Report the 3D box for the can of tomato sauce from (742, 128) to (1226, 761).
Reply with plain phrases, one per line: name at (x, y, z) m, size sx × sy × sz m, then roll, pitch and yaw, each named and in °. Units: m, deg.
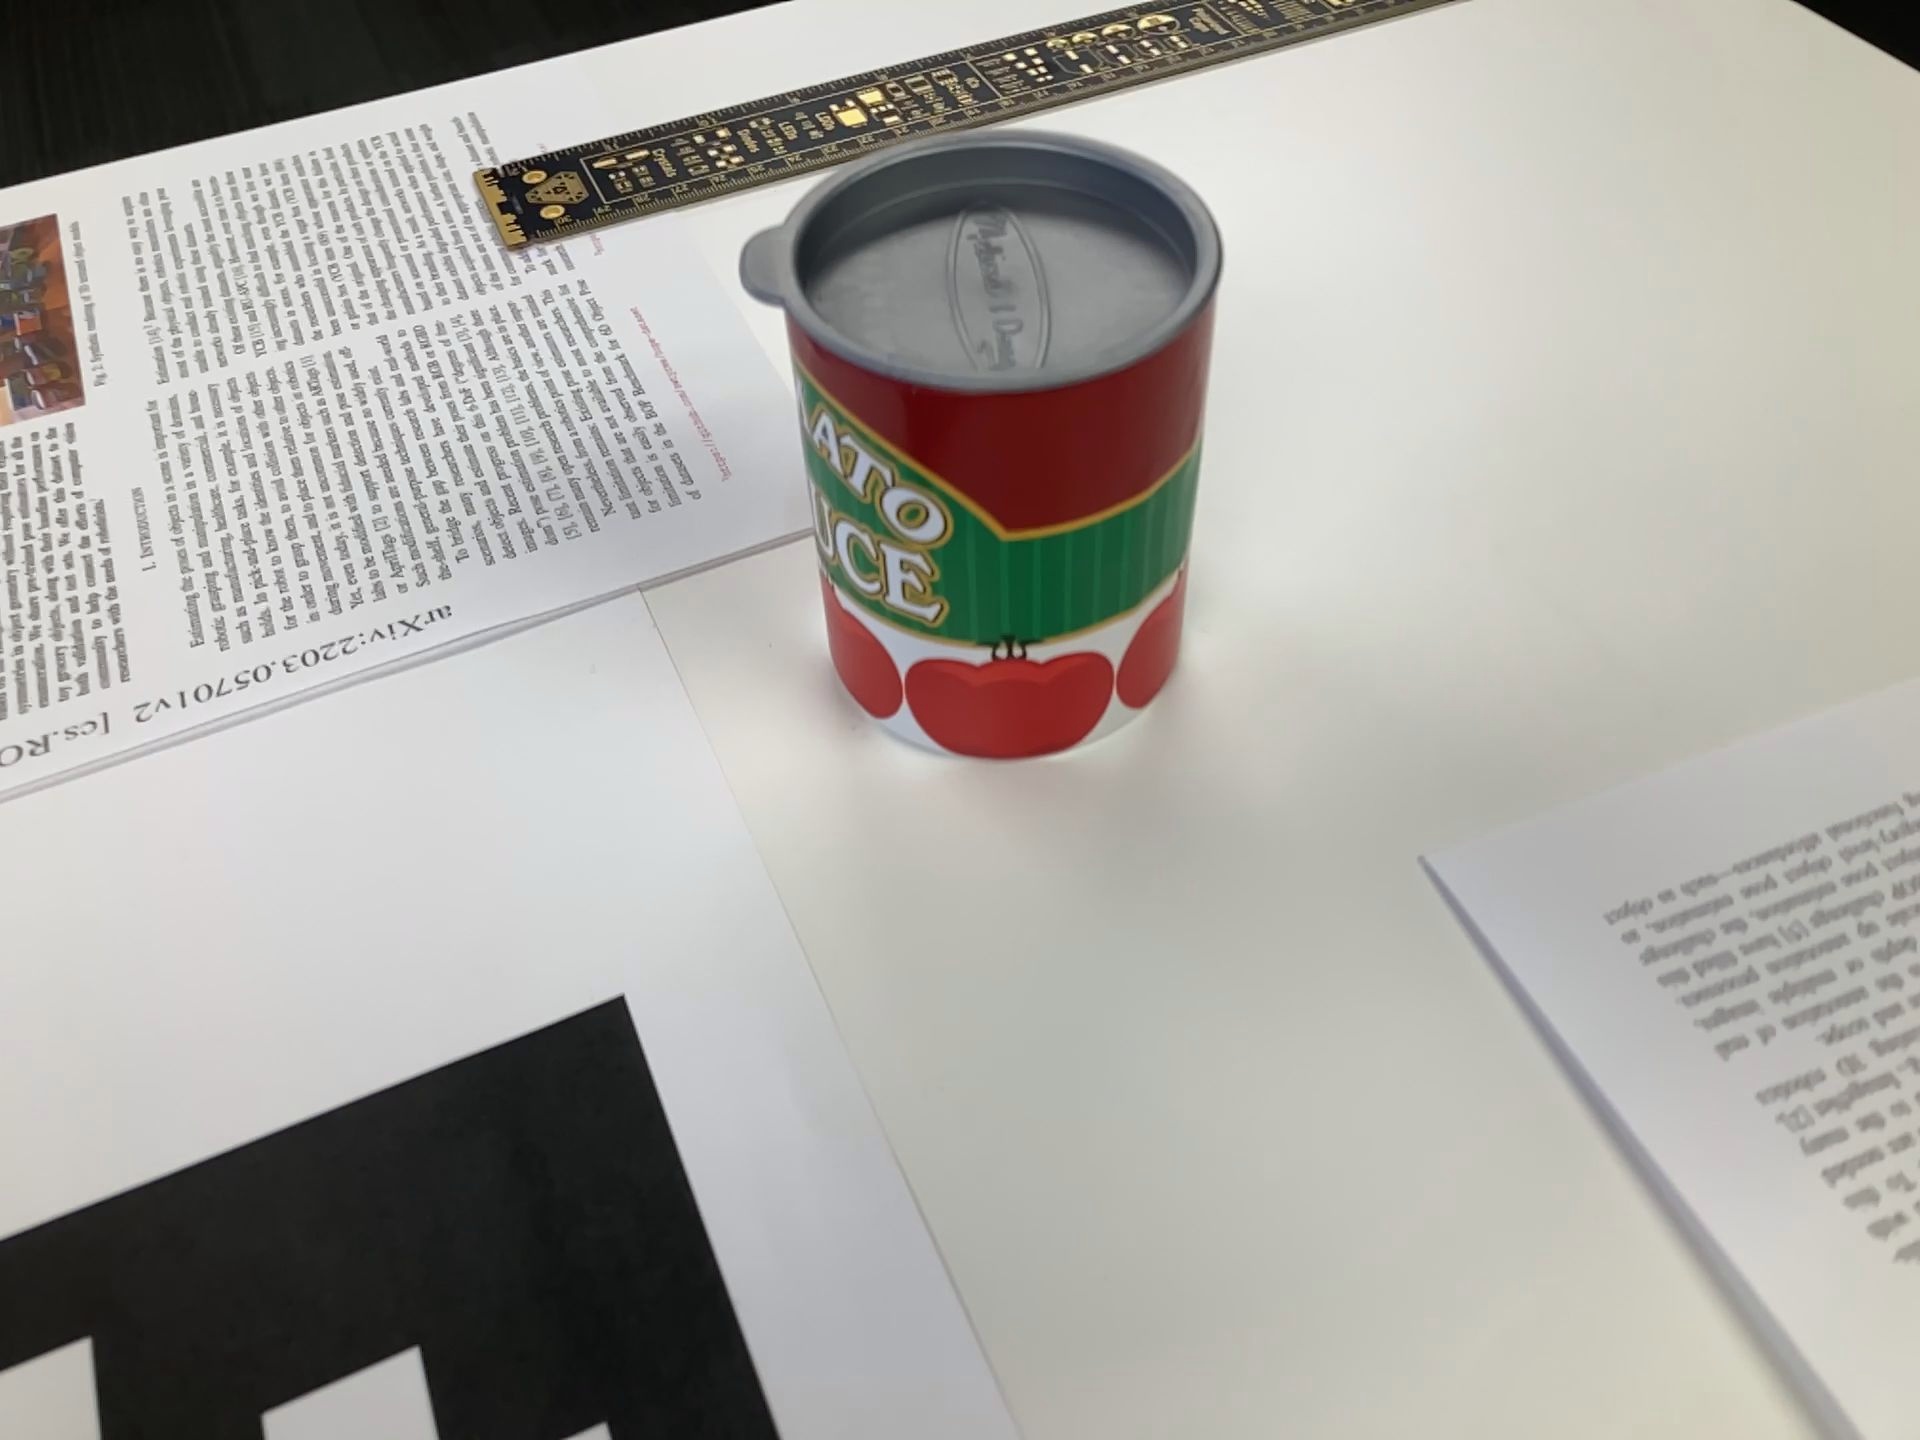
can of tomato sauce at (0.005, -0.043, 0.265) m, size 0.071 × 0.083 × 0.071 m, roll -1°, pitch 49°, yaw 2°
